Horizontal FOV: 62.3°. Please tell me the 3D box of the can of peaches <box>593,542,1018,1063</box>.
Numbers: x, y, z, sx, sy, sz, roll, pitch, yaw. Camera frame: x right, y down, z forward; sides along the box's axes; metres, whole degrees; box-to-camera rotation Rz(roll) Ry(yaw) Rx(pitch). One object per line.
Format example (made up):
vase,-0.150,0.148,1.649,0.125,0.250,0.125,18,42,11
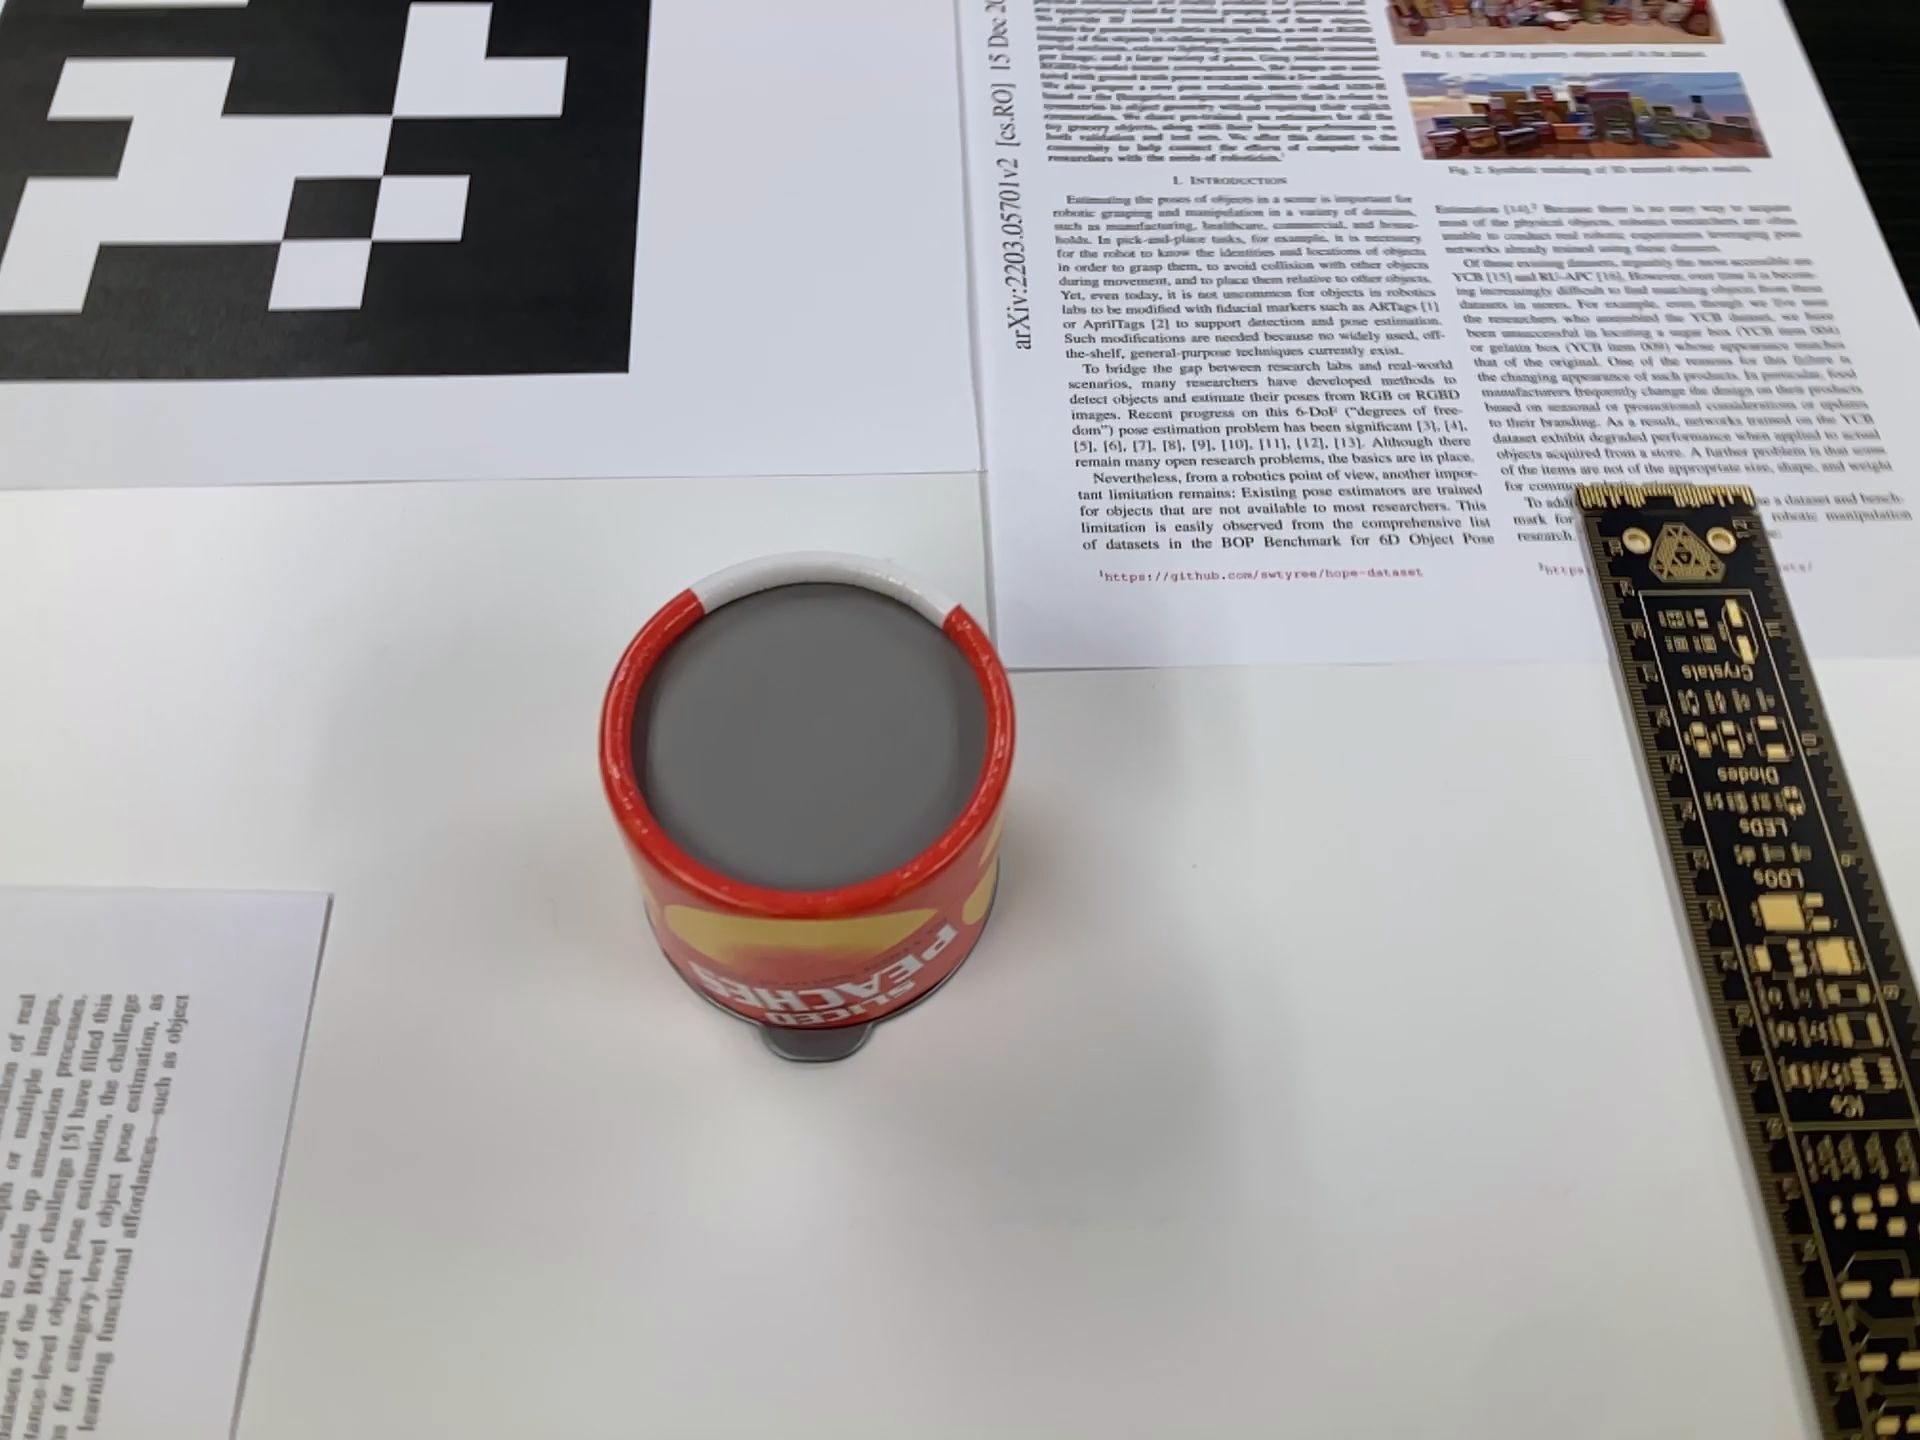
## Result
can of peaches,-0.025,0.014,0.266,0.071,0.058,0.071,1,61,-2
